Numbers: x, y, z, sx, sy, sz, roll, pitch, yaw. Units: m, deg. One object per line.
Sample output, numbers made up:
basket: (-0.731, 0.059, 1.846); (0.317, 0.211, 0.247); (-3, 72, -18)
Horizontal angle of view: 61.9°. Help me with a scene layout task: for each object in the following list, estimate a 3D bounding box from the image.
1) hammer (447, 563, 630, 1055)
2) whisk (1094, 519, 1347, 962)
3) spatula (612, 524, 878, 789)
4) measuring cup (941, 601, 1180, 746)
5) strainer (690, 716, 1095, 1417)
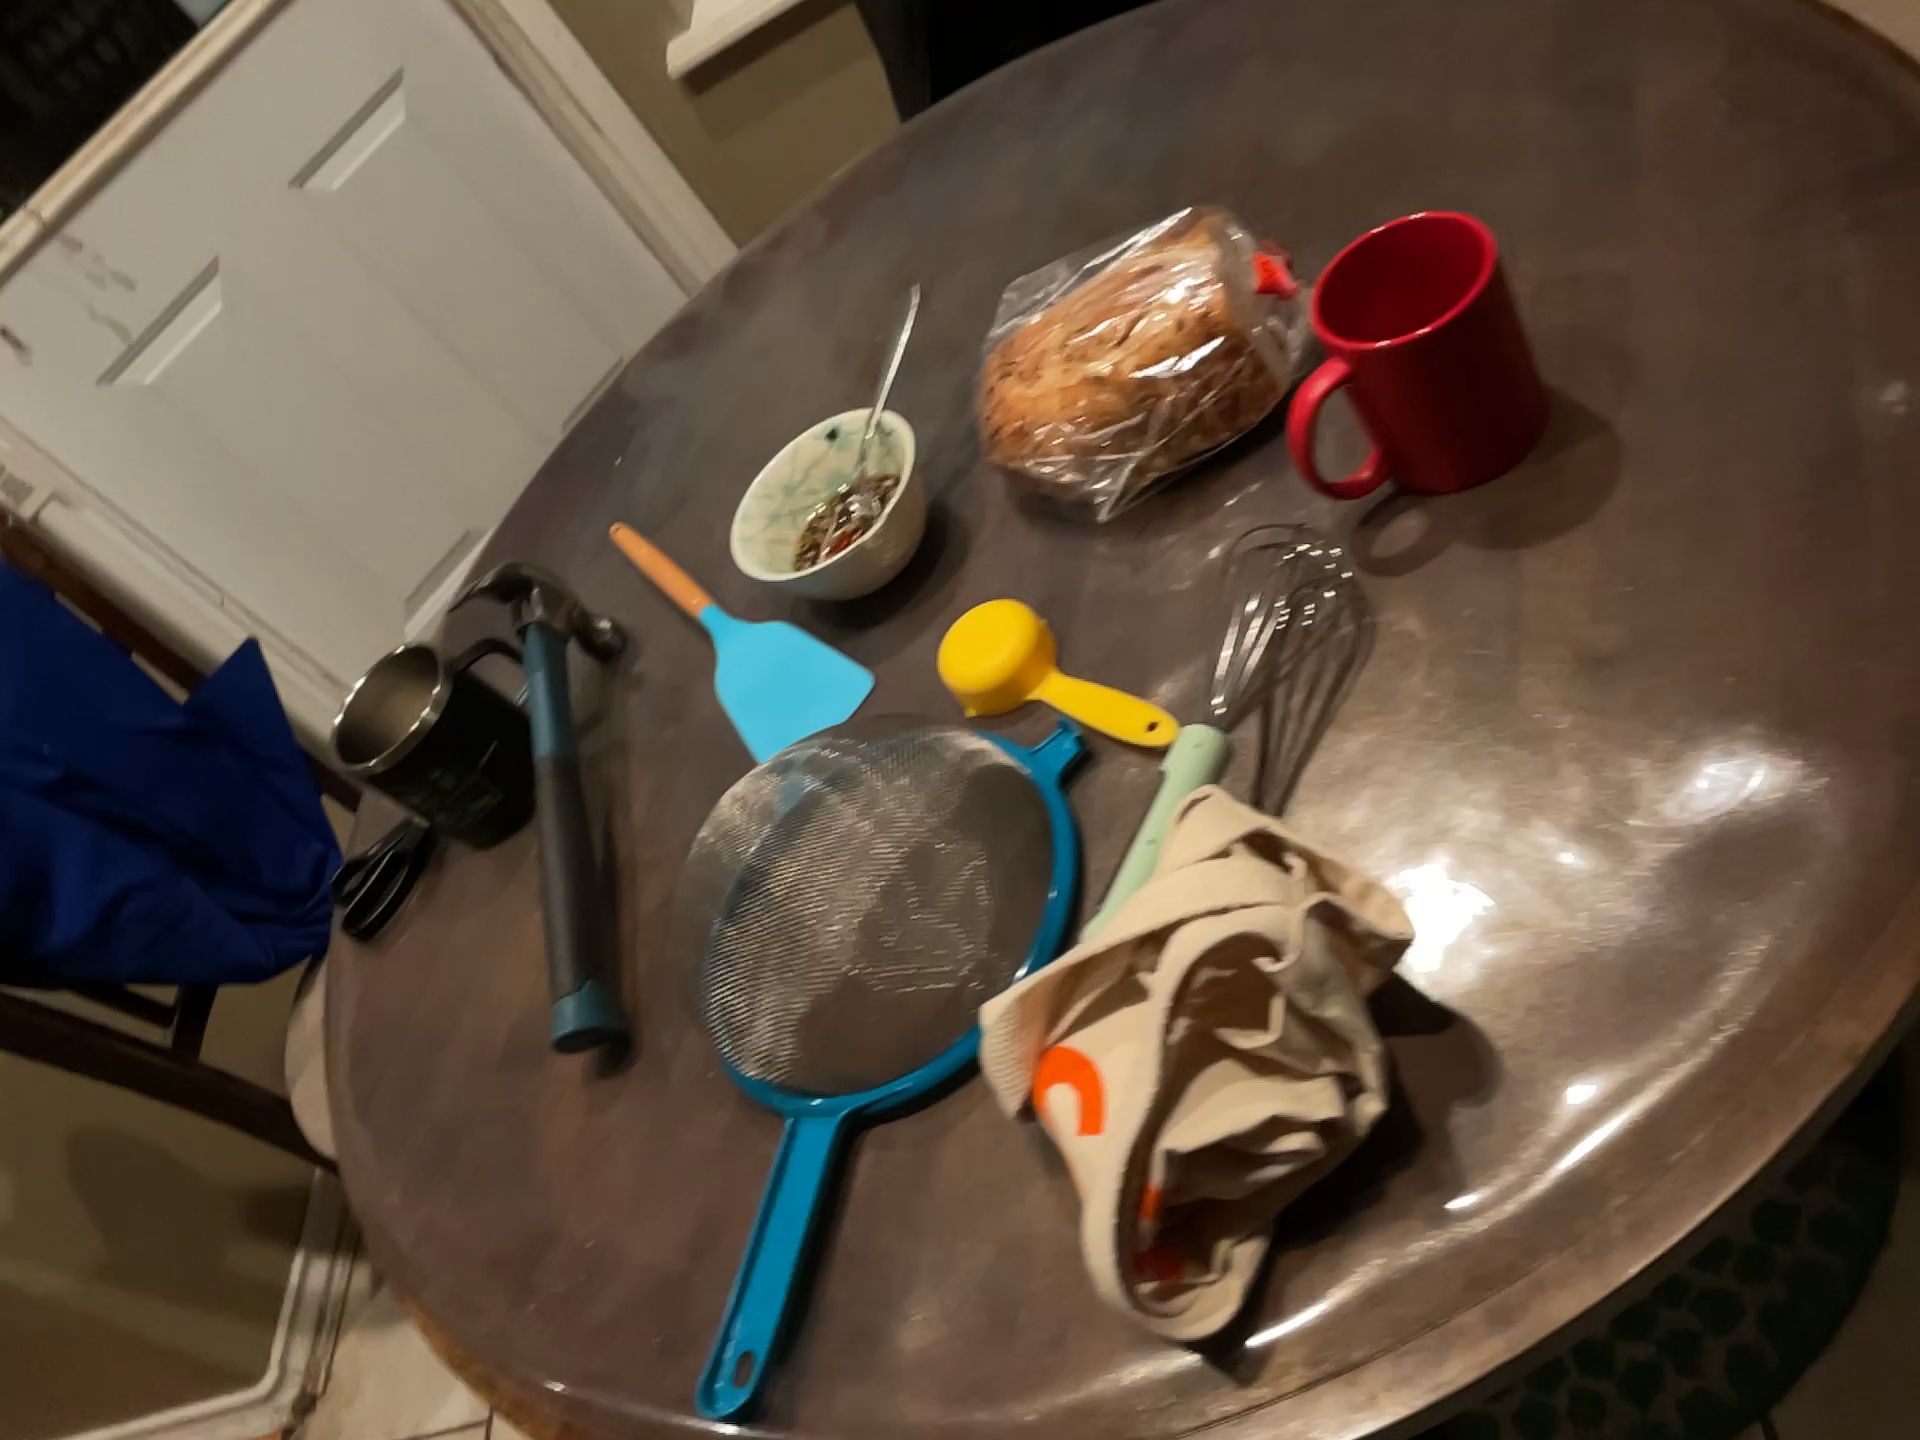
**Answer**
hammer: (-0.225, 0.040, 0.907); (0.033, 0.128, 0.331); (-31, 52, 17)
whisk: (0.109, 0.003, 0.688); (0.059, 0.057, 0.246); (21, 58, 13)
spatula: (-0.156, -0.062, 0.987); (0.082, 0.044, 0.318); (-46, 38, -3)
measuring cup: (0.047, -0.021, 0.790); (0.156, 0.029, 0.062); (25, 74, 48)
strainer: (-0.071, 0.122, 0.715); (0.211, 0.095, 0.341); (-9, 47, 33)
